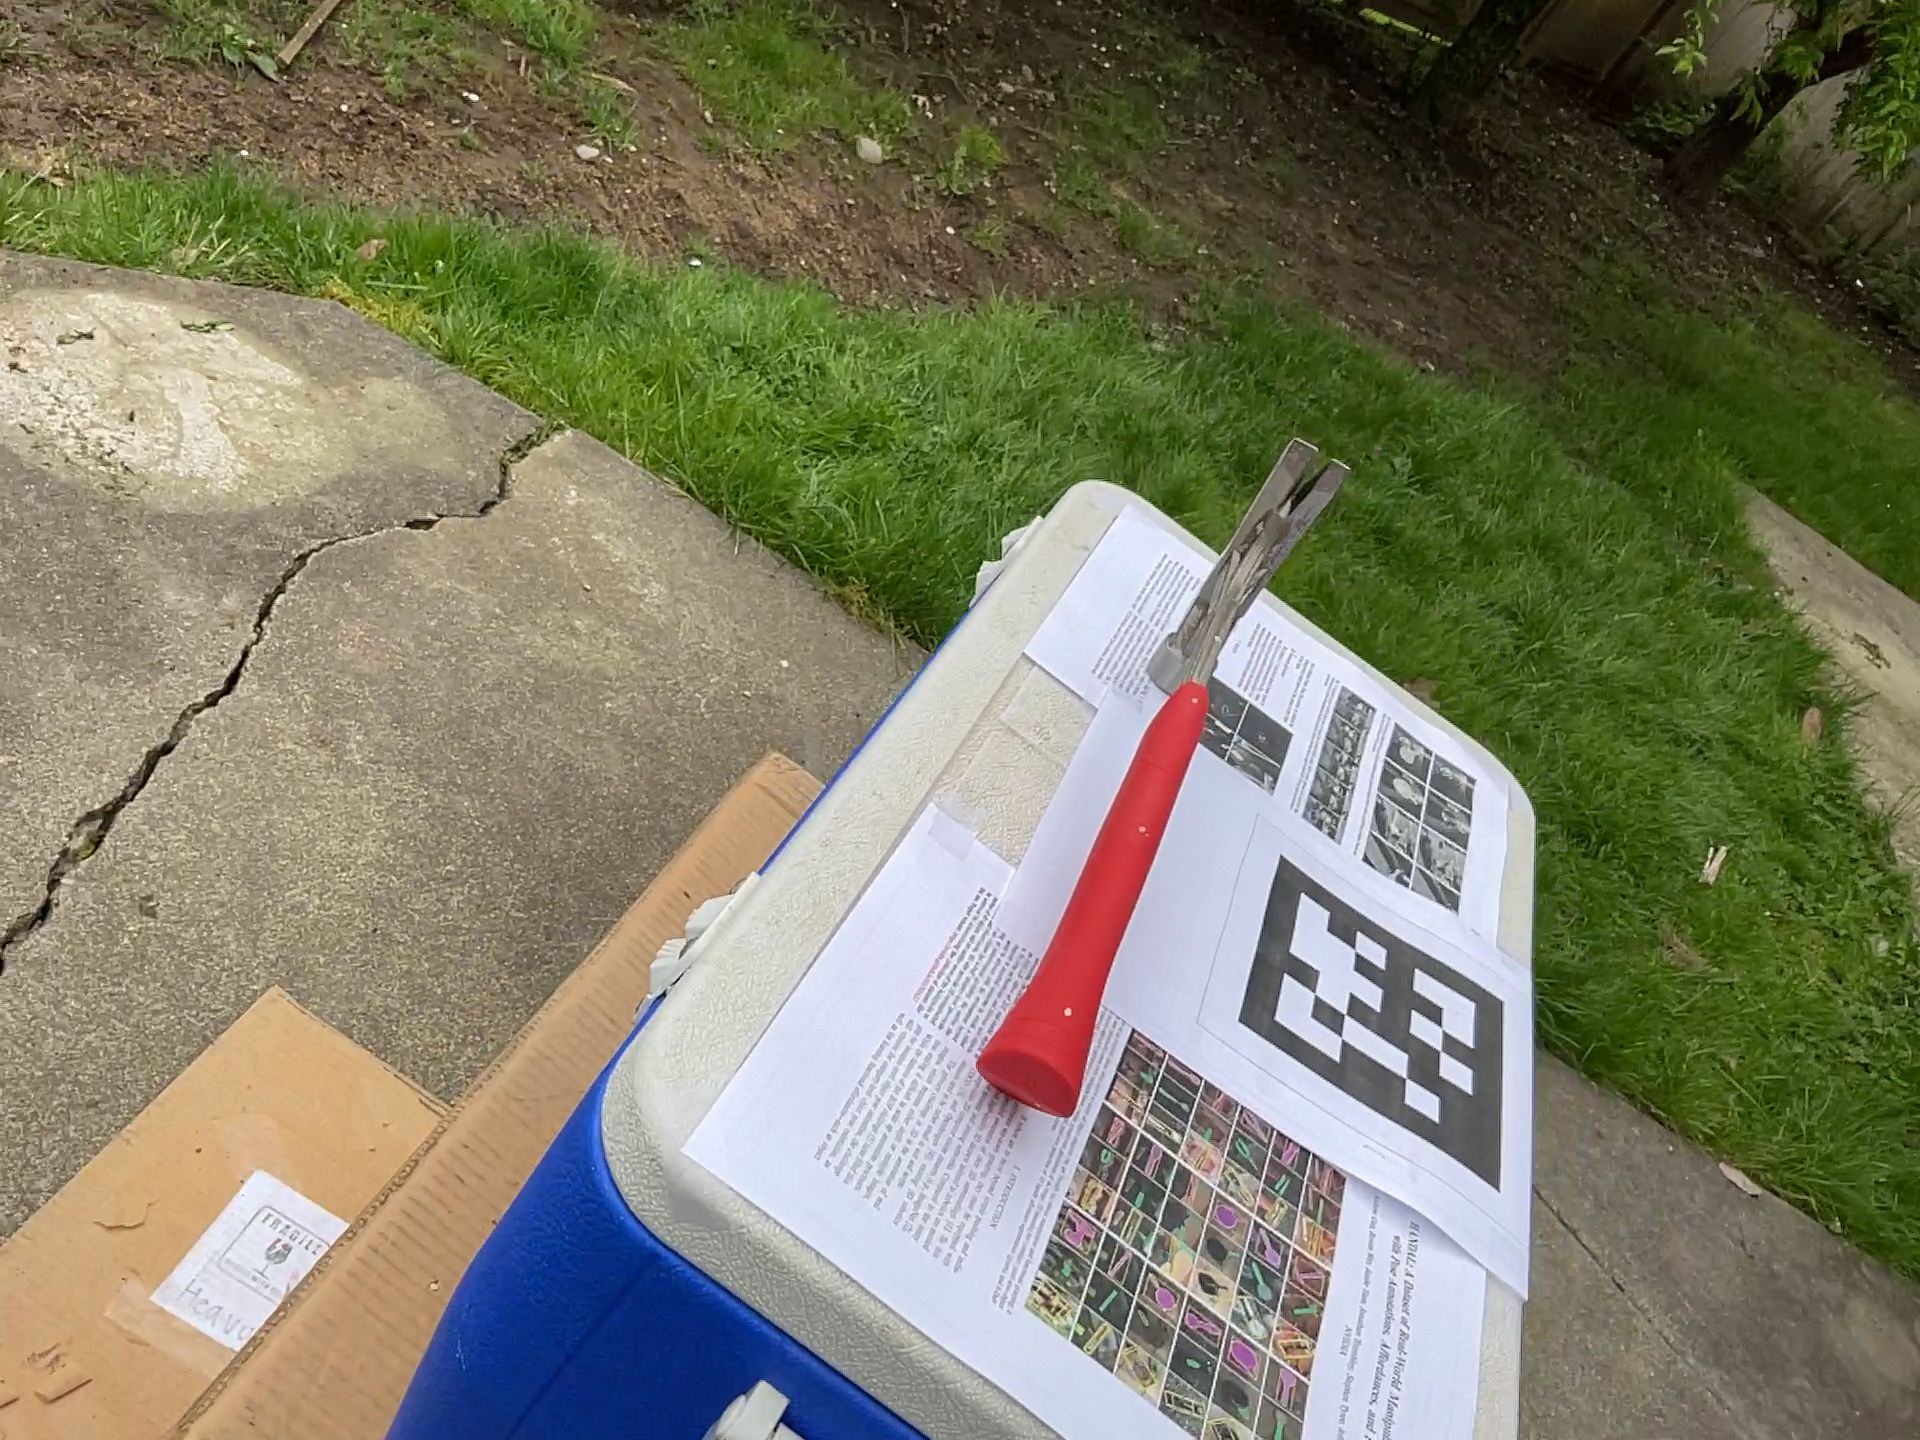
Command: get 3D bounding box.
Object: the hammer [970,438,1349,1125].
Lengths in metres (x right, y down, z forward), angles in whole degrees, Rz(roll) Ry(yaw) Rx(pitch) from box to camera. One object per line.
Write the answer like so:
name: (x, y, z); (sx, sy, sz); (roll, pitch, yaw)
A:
hammer: (0.083, 0.018, 0.655); (0.036, 0.149, 0.359); (30, 39, 1)
